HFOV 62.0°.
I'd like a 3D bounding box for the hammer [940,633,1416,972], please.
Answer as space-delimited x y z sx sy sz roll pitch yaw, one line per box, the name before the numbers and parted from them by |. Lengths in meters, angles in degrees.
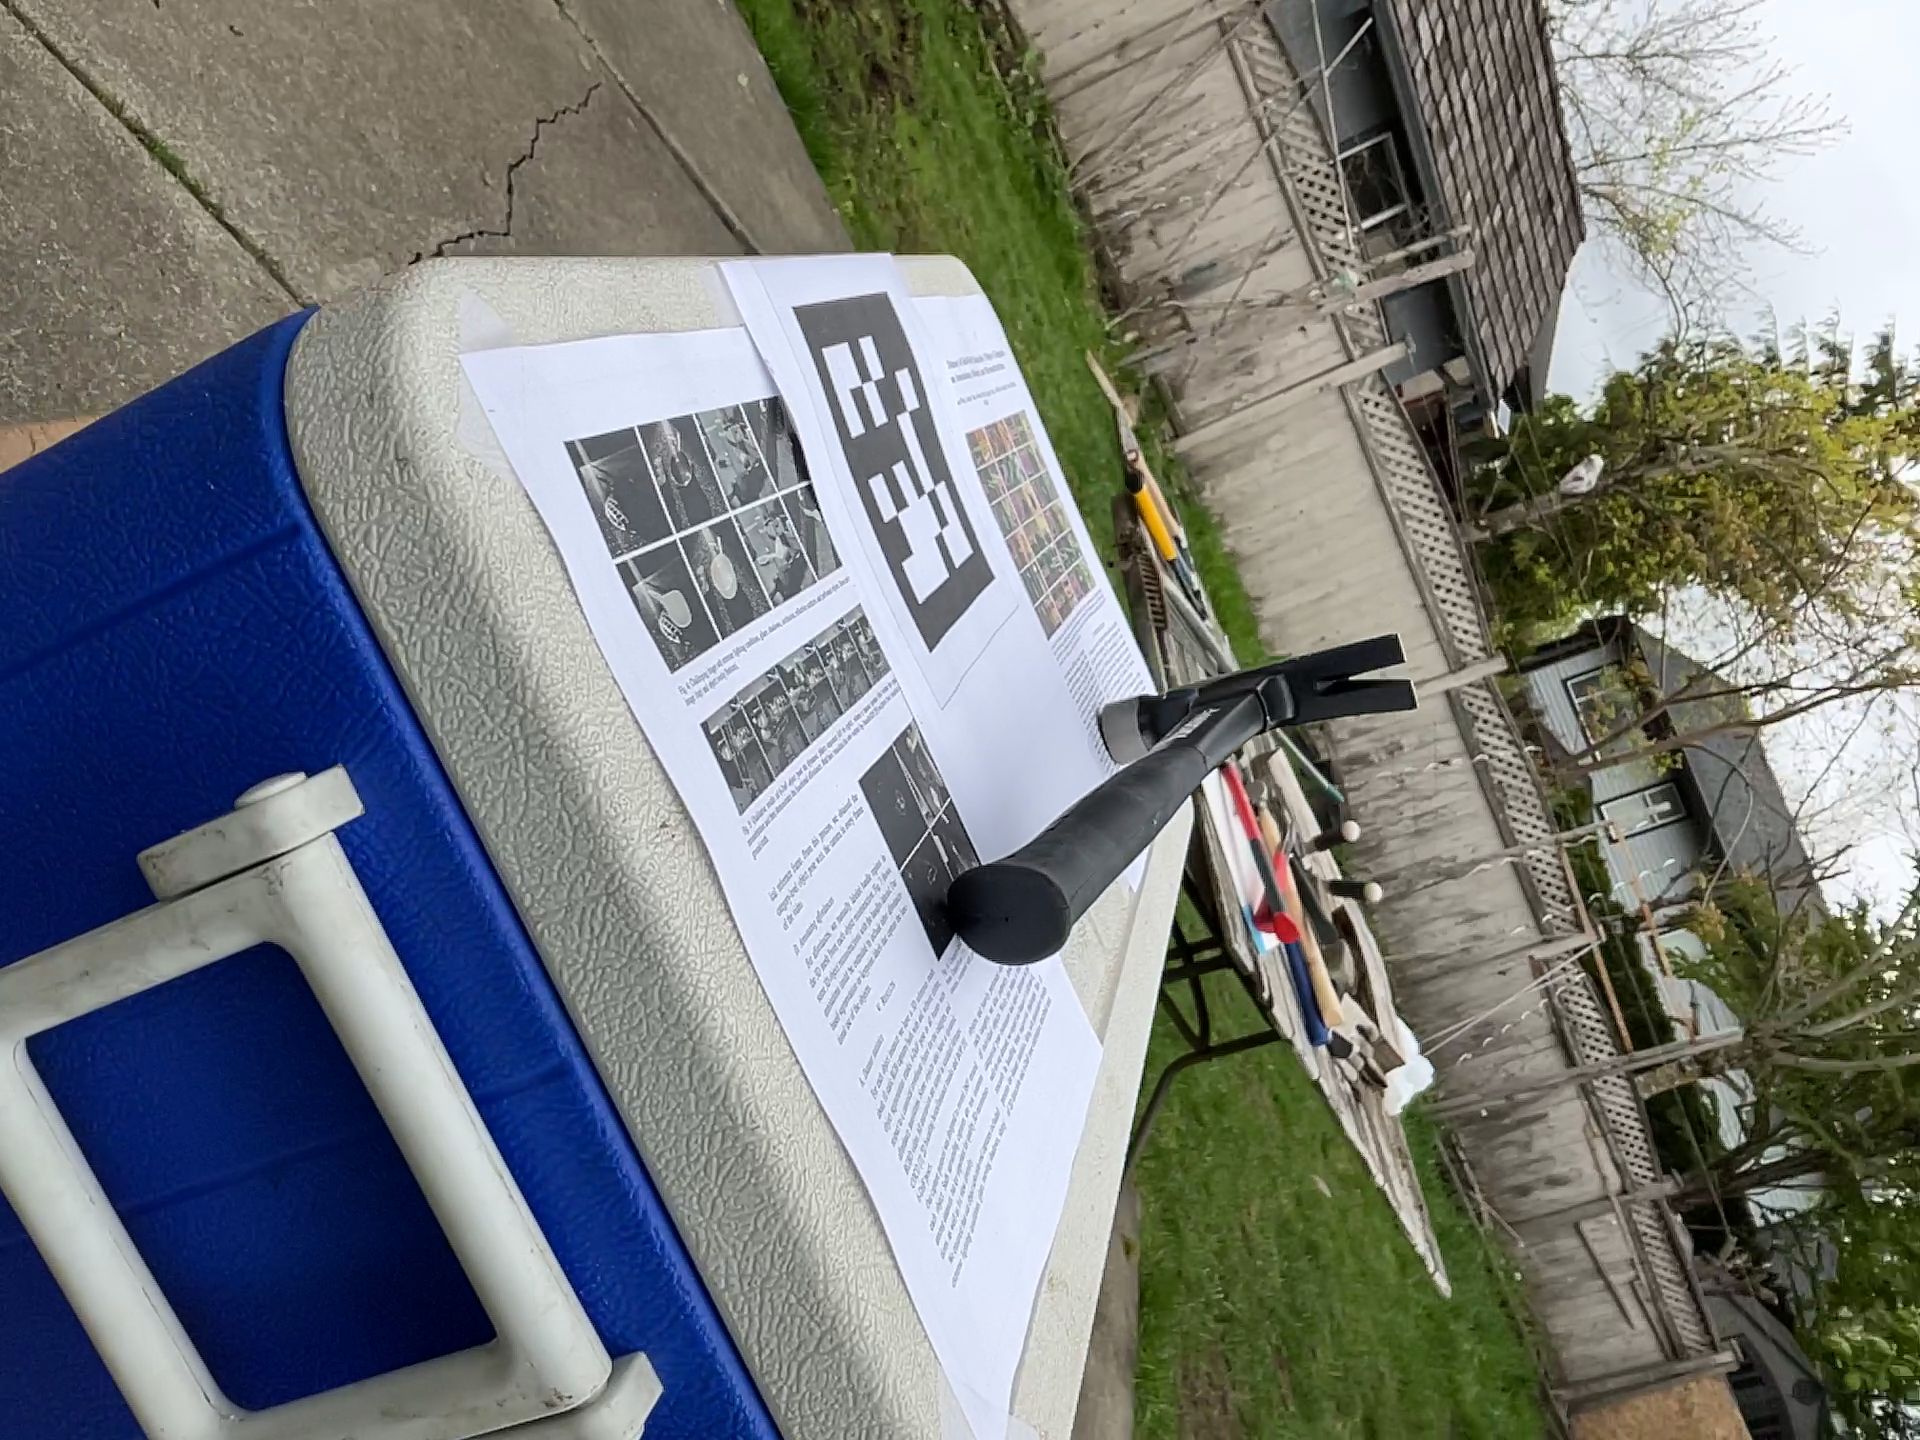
hammer | 0.079 0.023 0.603 0.334 0.146 0.035 -29 103 -65
